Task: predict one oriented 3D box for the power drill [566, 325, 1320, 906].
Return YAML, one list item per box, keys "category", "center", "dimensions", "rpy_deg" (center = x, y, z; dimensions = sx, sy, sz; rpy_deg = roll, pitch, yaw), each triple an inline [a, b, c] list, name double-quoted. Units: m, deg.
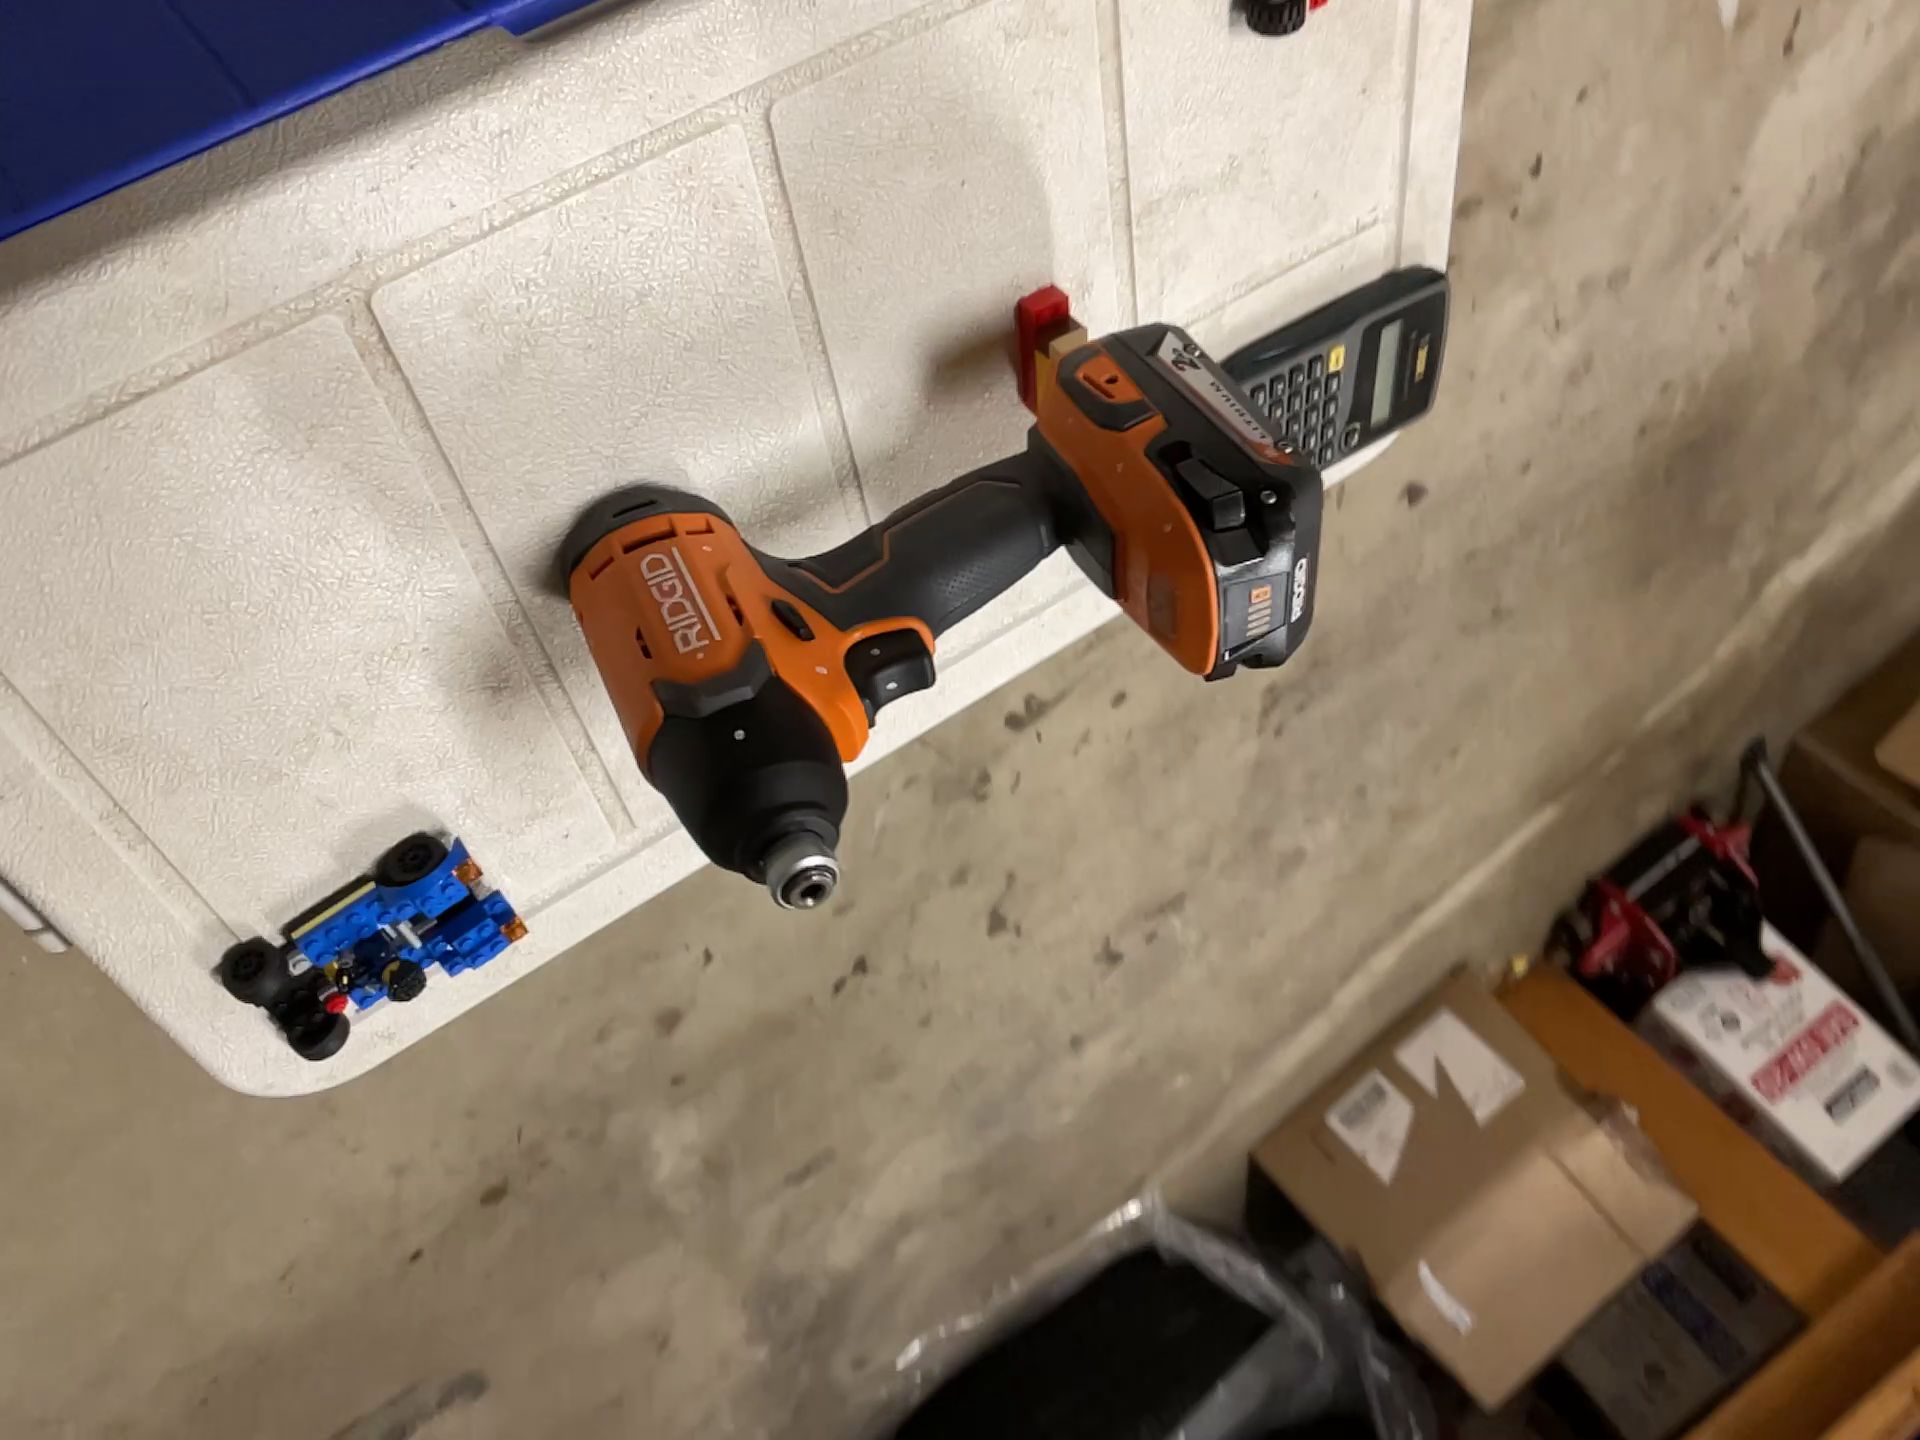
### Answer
- category: "power drill"
  center: [-0.001, -0.035, 0.520]
  dimensions: [0.226, 0.164, 0.084]
  rpy_deg: [-21, 140, -11]
